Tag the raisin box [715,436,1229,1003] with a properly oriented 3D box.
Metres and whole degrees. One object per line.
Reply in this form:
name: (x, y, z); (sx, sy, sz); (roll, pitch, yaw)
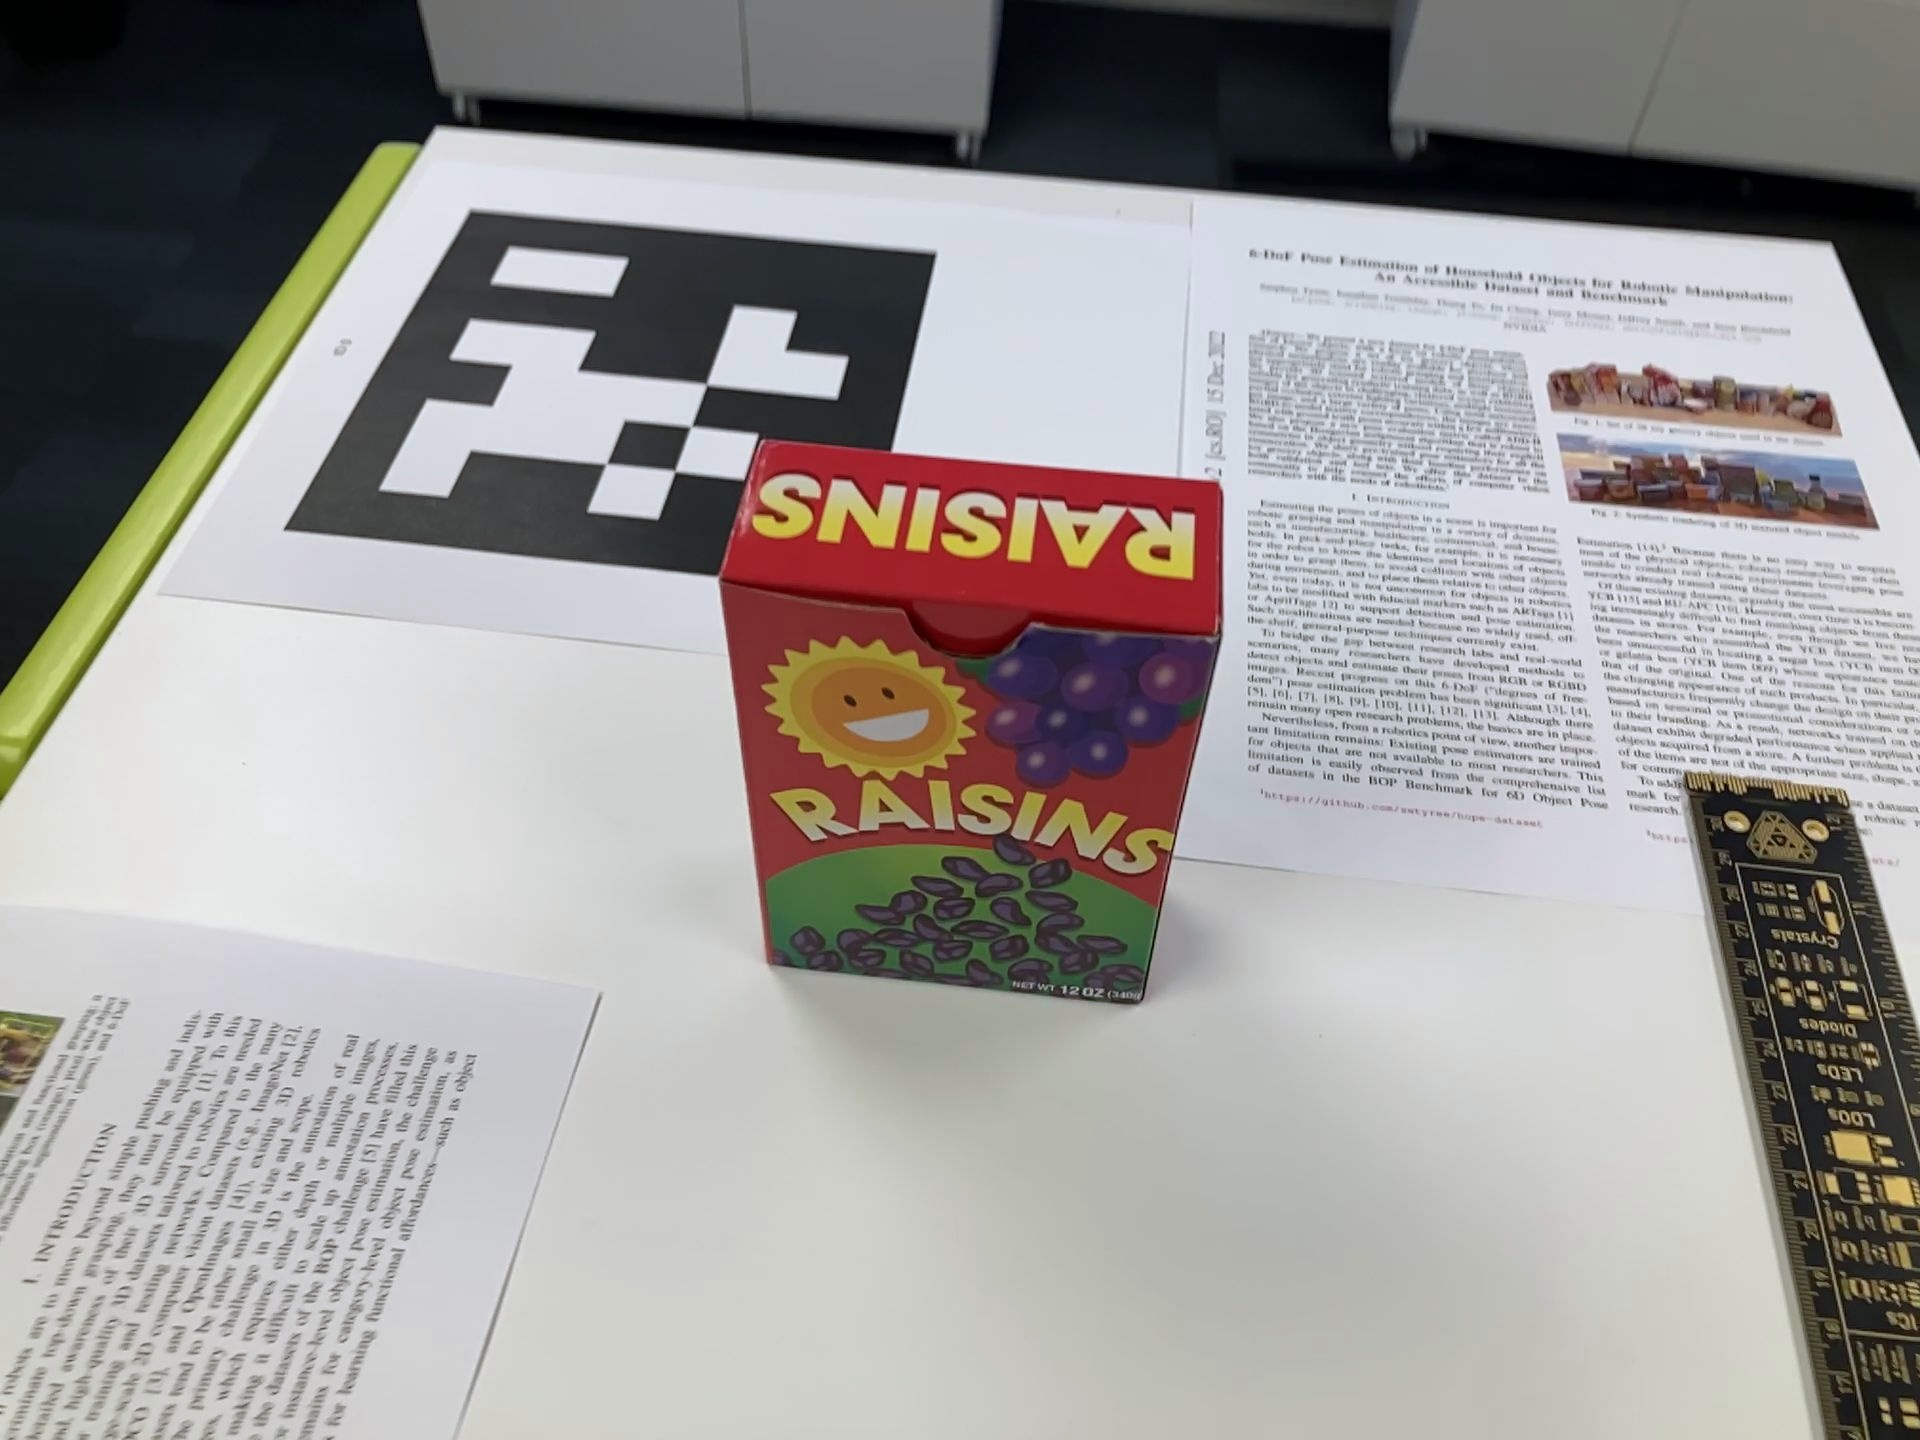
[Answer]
raisin box: (0.002, 0.006, 0.315); (0.086, 0.123, 0.040); (7, 50, 4)
